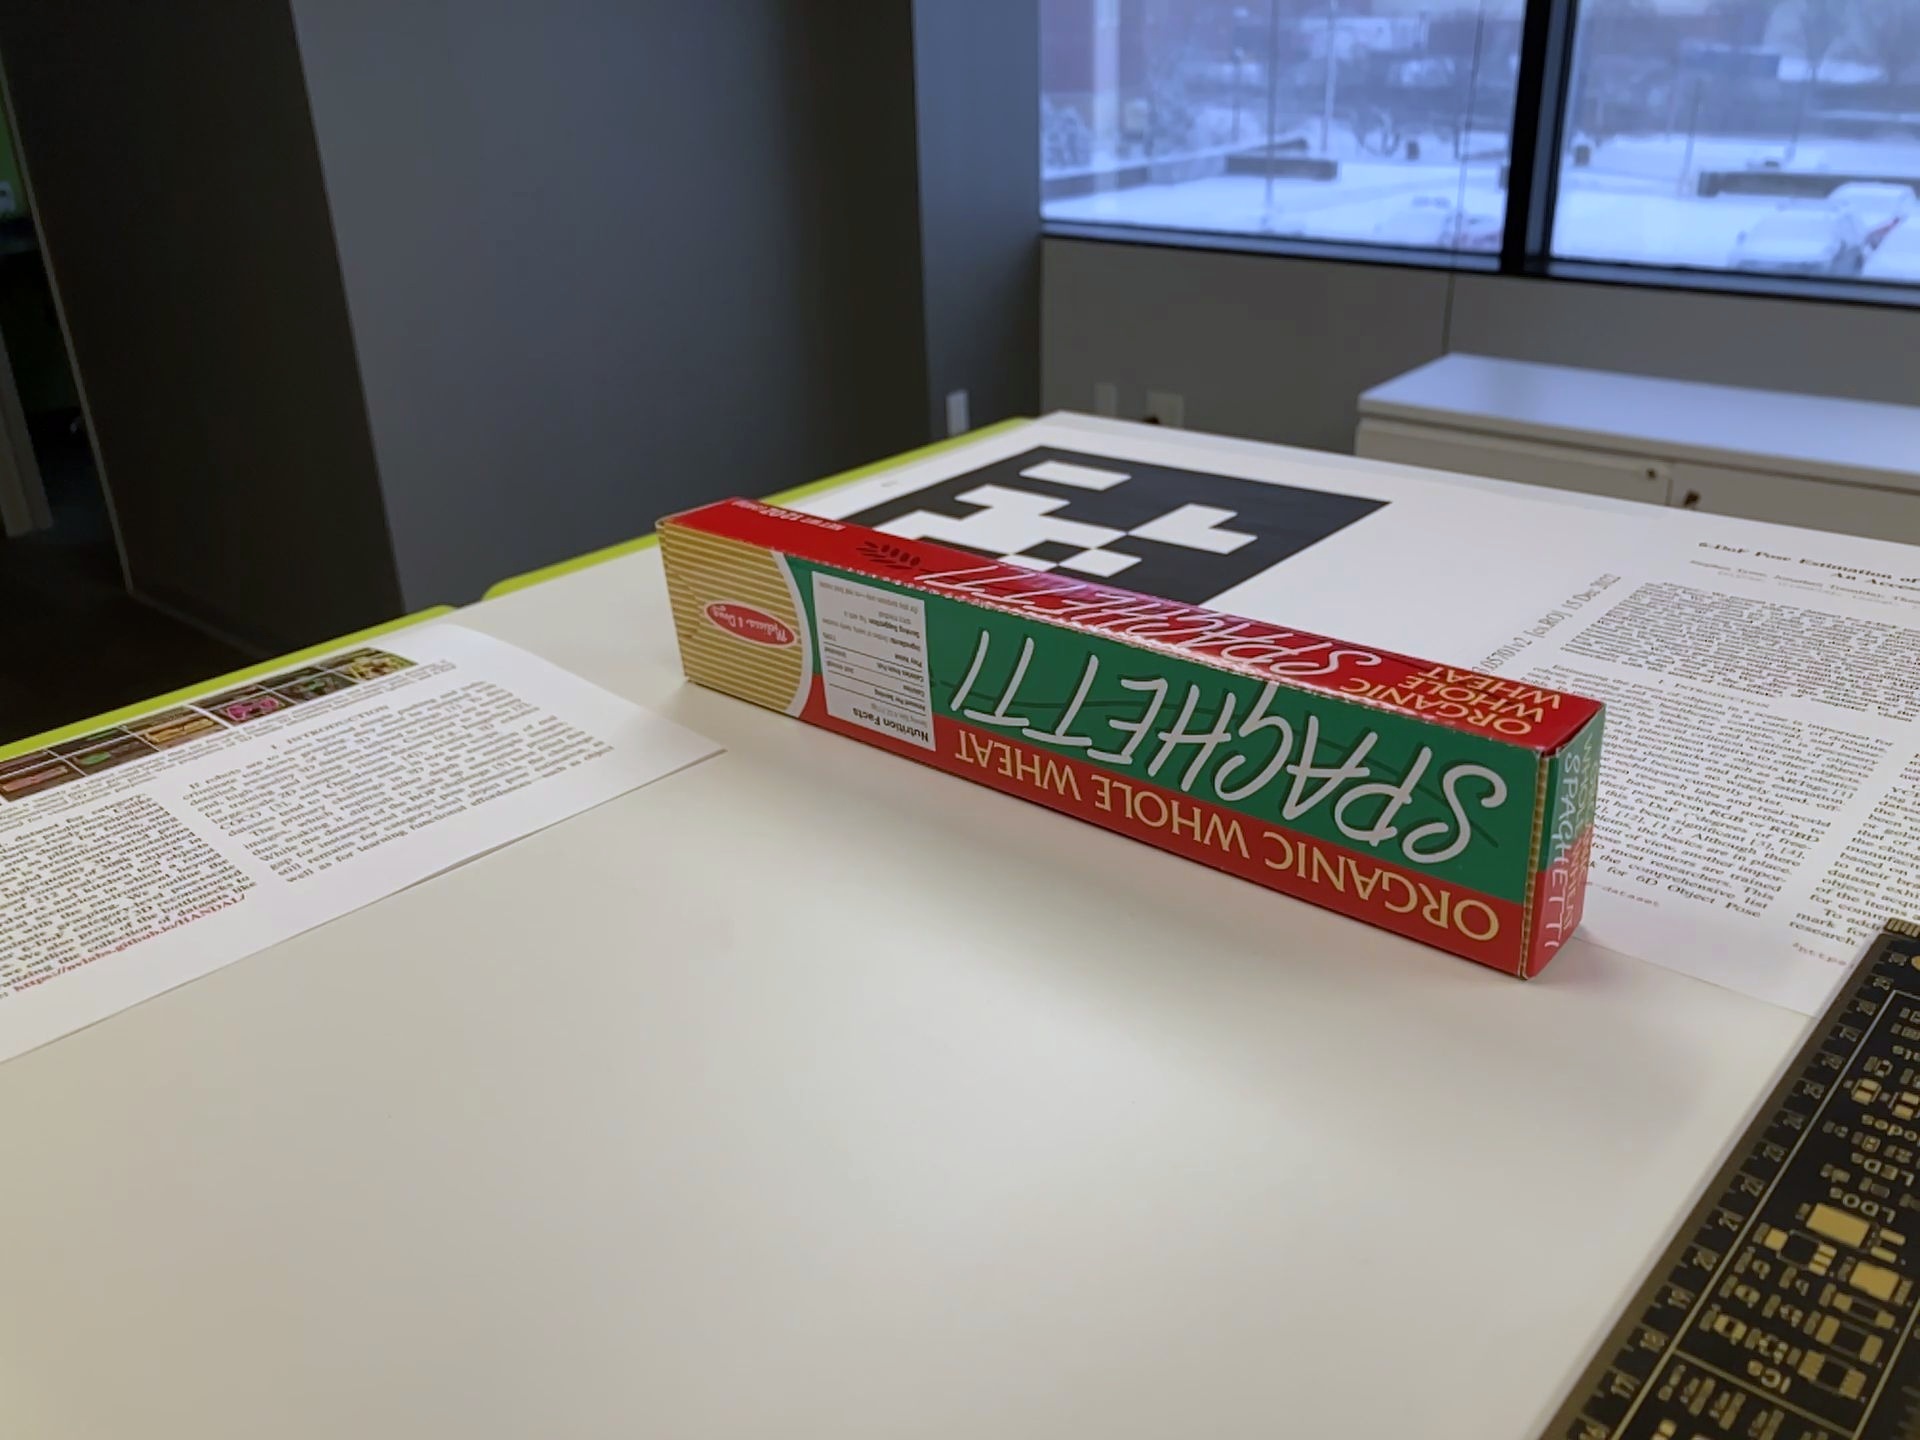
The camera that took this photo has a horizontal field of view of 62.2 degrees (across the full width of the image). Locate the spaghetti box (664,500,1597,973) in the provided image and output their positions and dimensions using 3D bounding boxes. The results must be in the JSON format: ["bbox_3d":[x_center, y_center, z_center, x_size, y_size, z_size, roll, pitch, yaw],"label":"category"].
[{"bbox_3d":[0.022,-0.007,0.375,0.250,0.050,0.028,18,33,38],"label":"spaghetti box"}]
